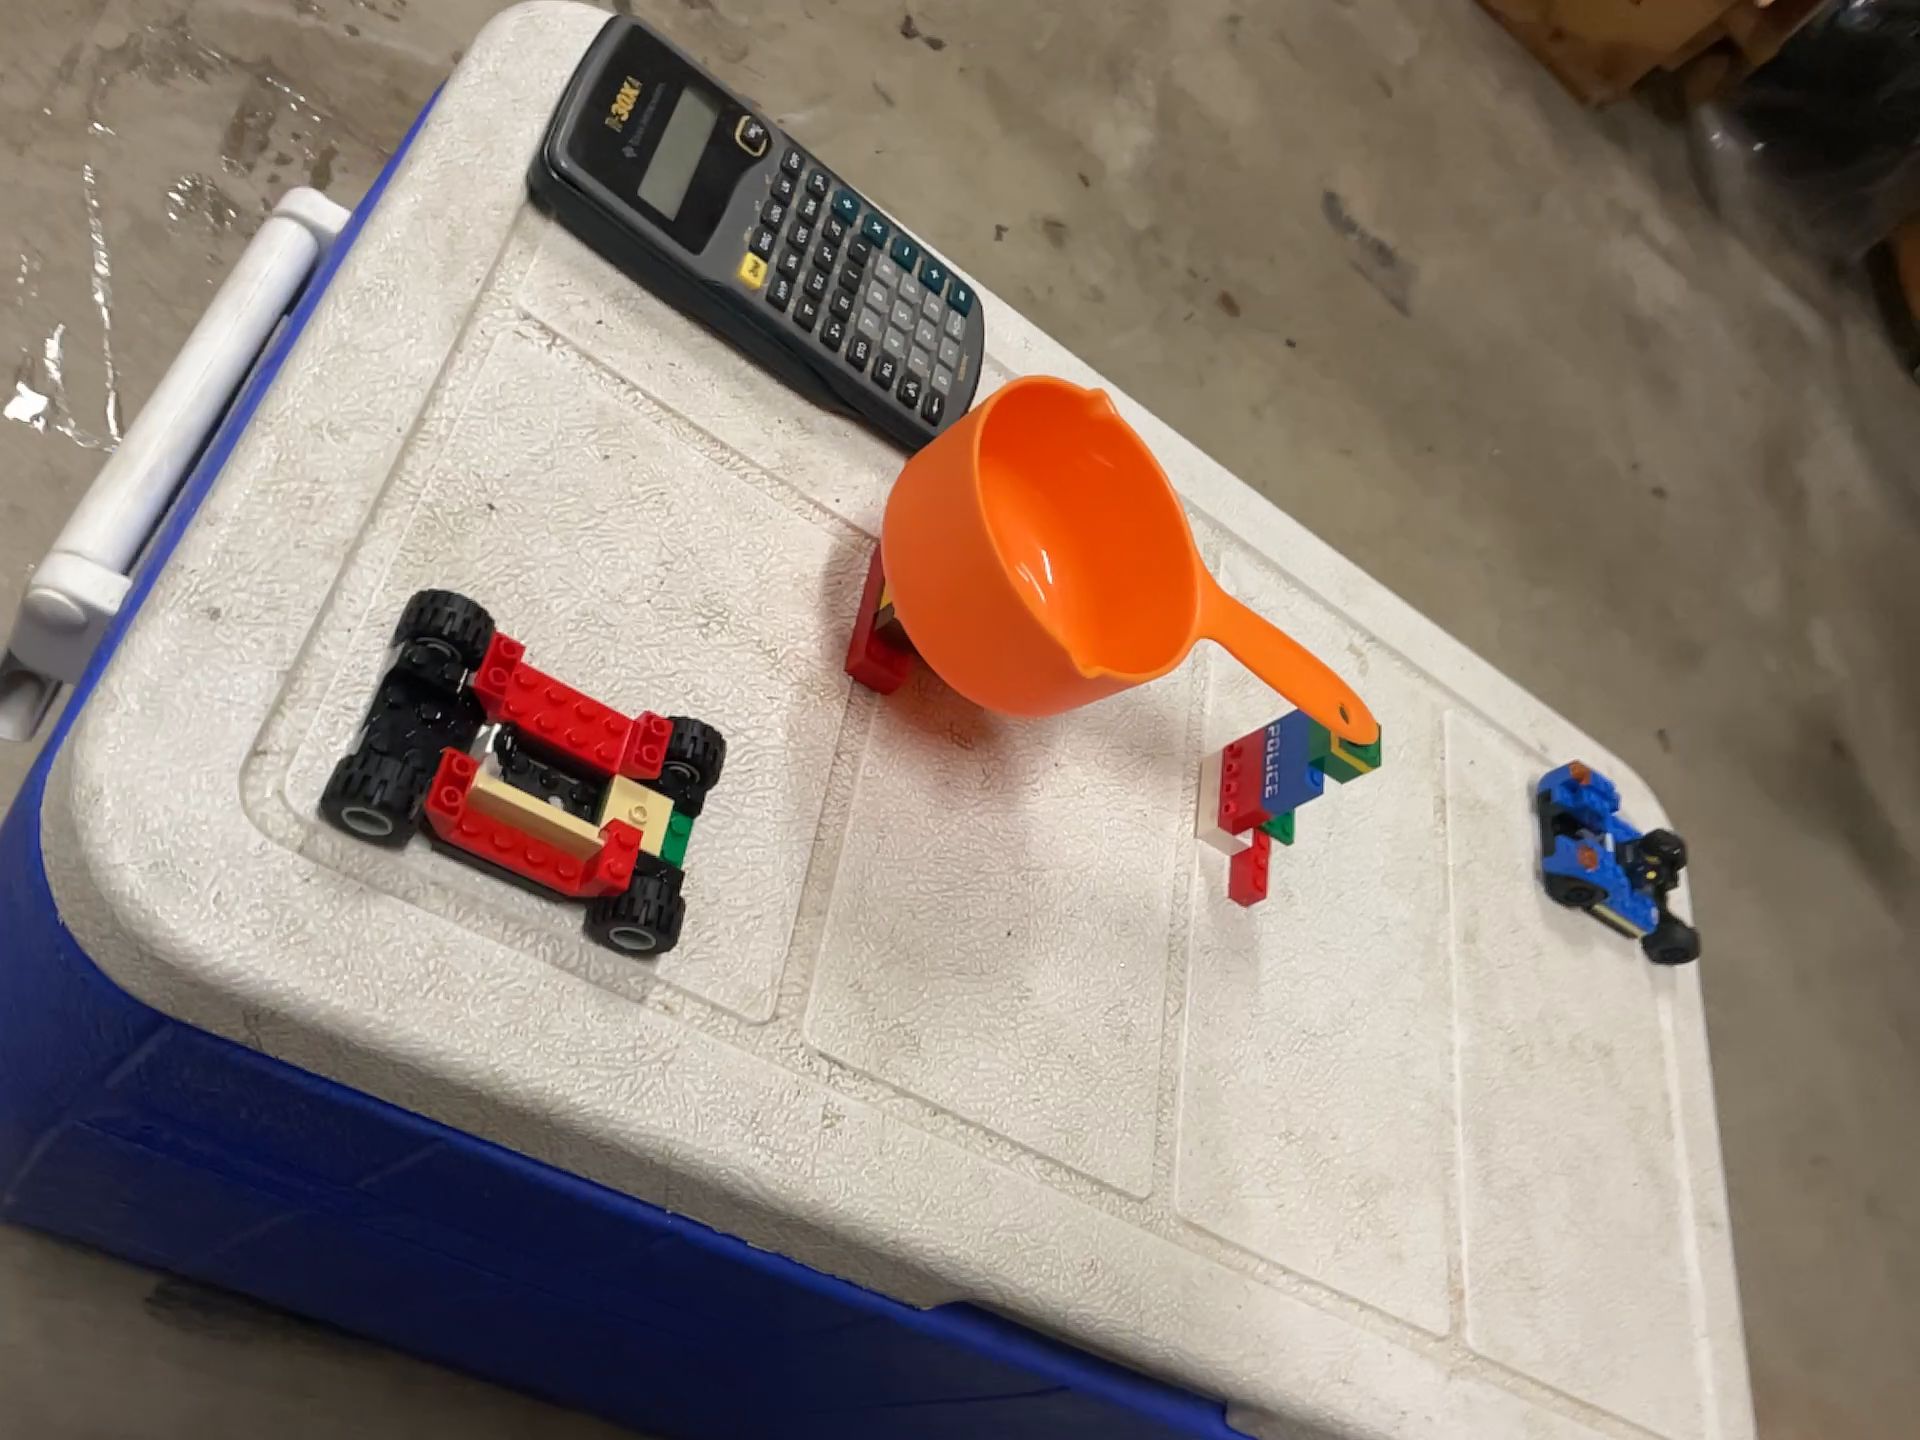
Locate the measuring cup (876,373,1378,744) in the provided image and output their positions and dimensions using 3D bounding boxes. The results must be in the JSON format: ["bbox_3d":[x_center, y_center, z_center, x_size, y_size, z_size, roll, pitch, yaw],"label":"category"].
[{"bbox_3d":[0.050,-0.026,0.457,0.173,0.052,0.095,30,50,-33],"label":"measuring cup"}]
